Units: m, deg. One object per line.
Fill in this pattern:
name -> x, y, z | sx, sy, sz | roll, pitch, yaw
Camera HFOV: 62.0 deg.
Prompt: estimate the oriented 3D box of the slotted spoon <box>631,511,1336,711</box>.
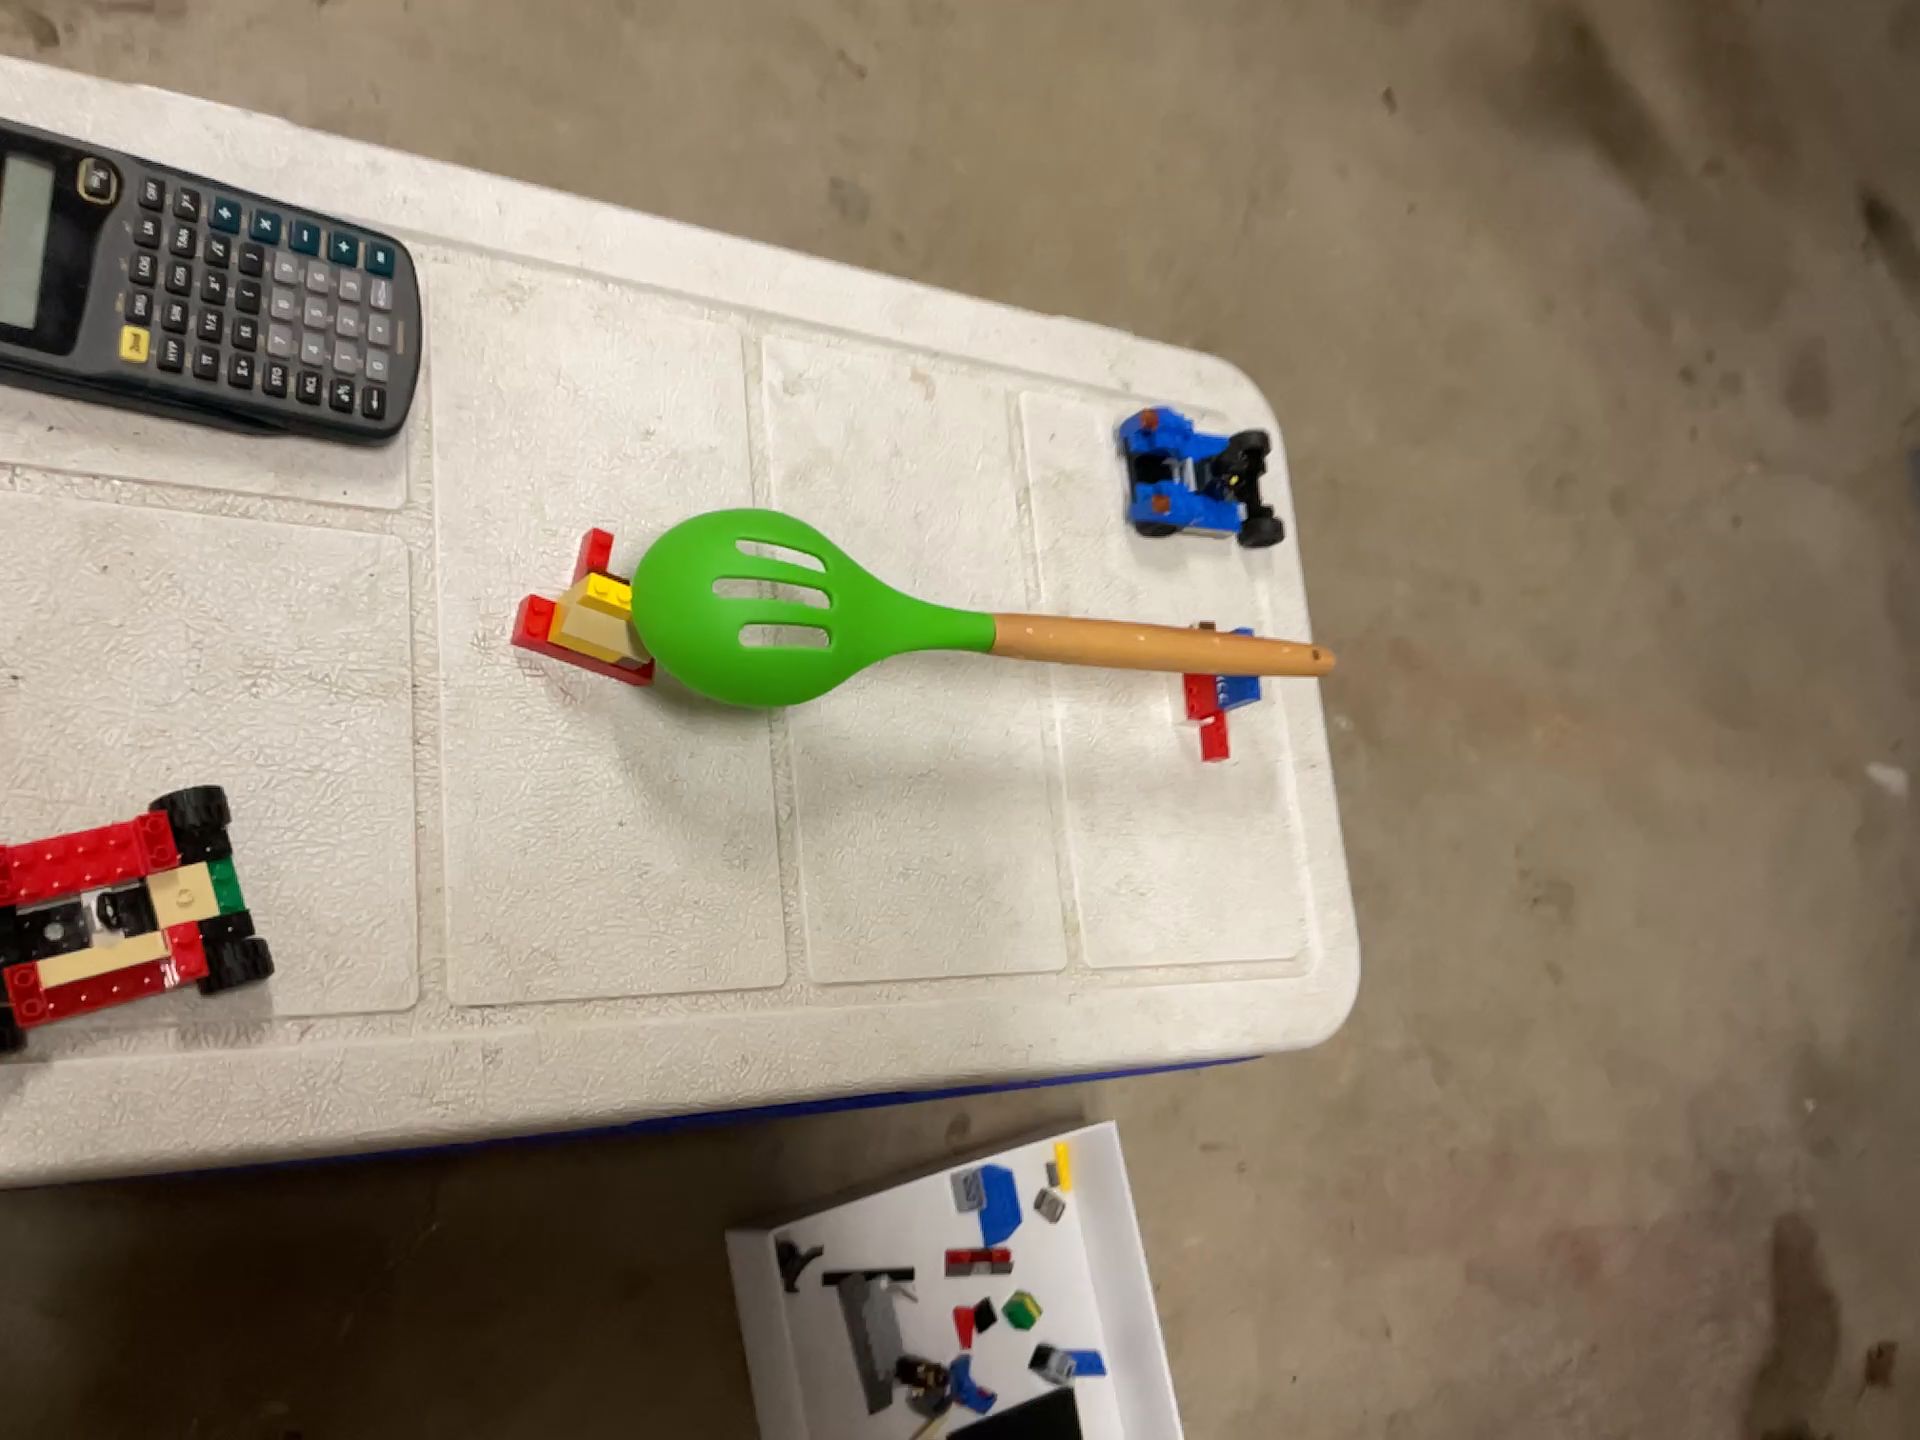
slotted spoon -> 0.030, -0.033, 0.598 | 0.313, 0.031, 0.070 | 3, 74, -35
